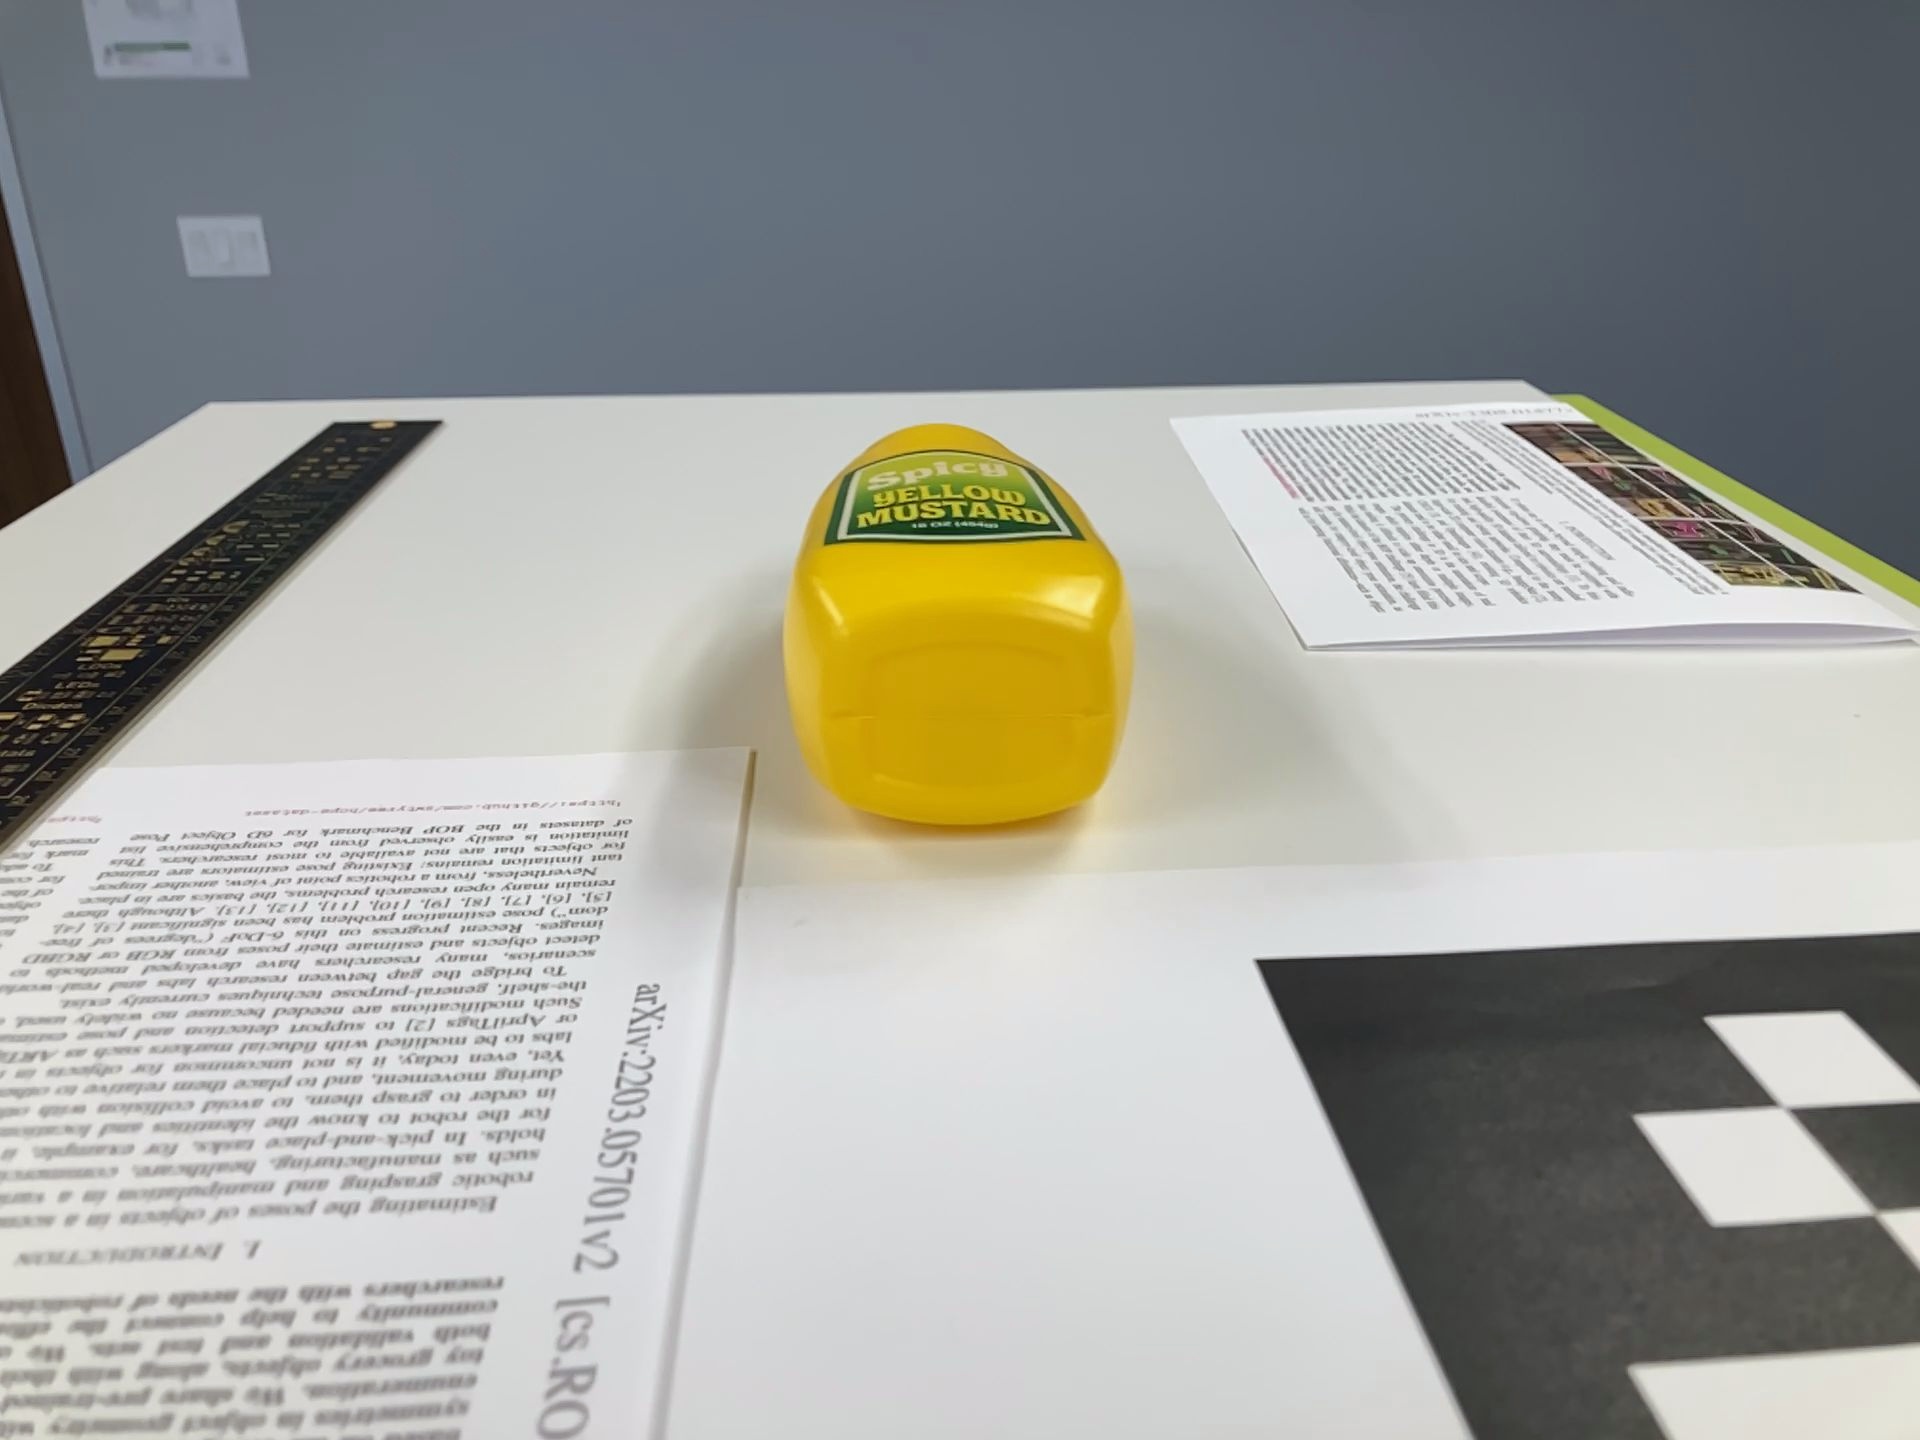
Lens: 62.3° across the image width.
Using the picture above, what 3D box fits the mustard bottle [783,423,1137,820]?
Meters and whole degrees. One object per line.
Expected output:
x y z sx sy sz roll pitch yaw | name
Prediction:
-0.004 -0.033 0.338 0.065 0.049 0.160 -1 24 -4 | mustard bottle
